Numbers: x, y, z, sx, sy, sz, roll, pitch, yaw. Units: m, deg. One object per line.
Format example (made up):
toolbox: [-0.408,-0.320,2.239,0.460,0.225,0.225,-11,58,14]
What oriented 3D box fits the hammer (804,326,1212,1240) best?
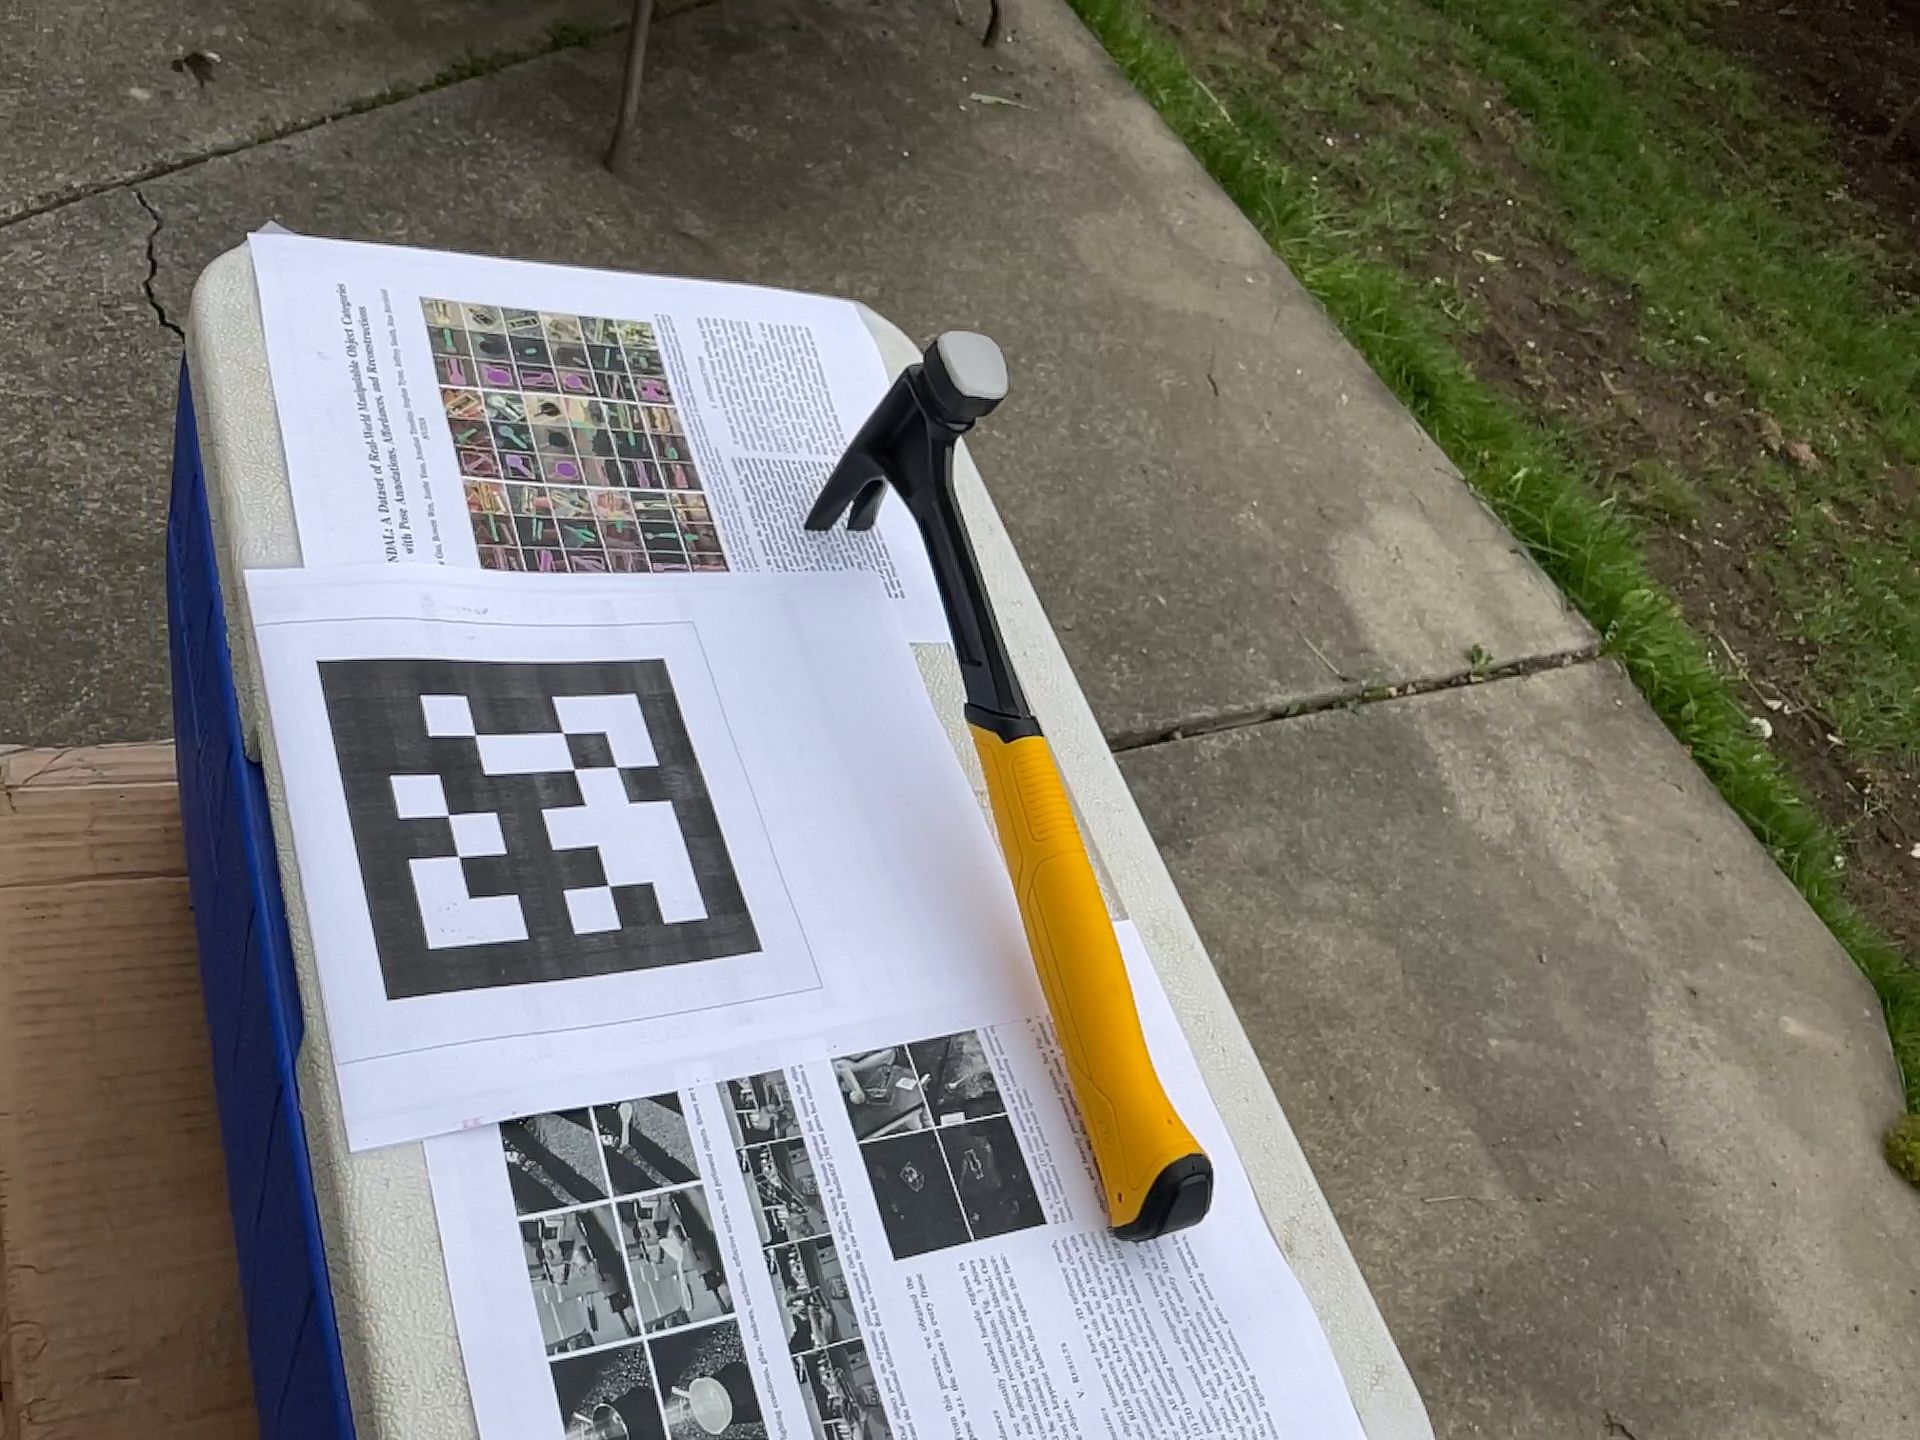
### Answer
hammer: [0.018,0.024,0.602,0.034,0.127,0.337,-3,65,-33]
